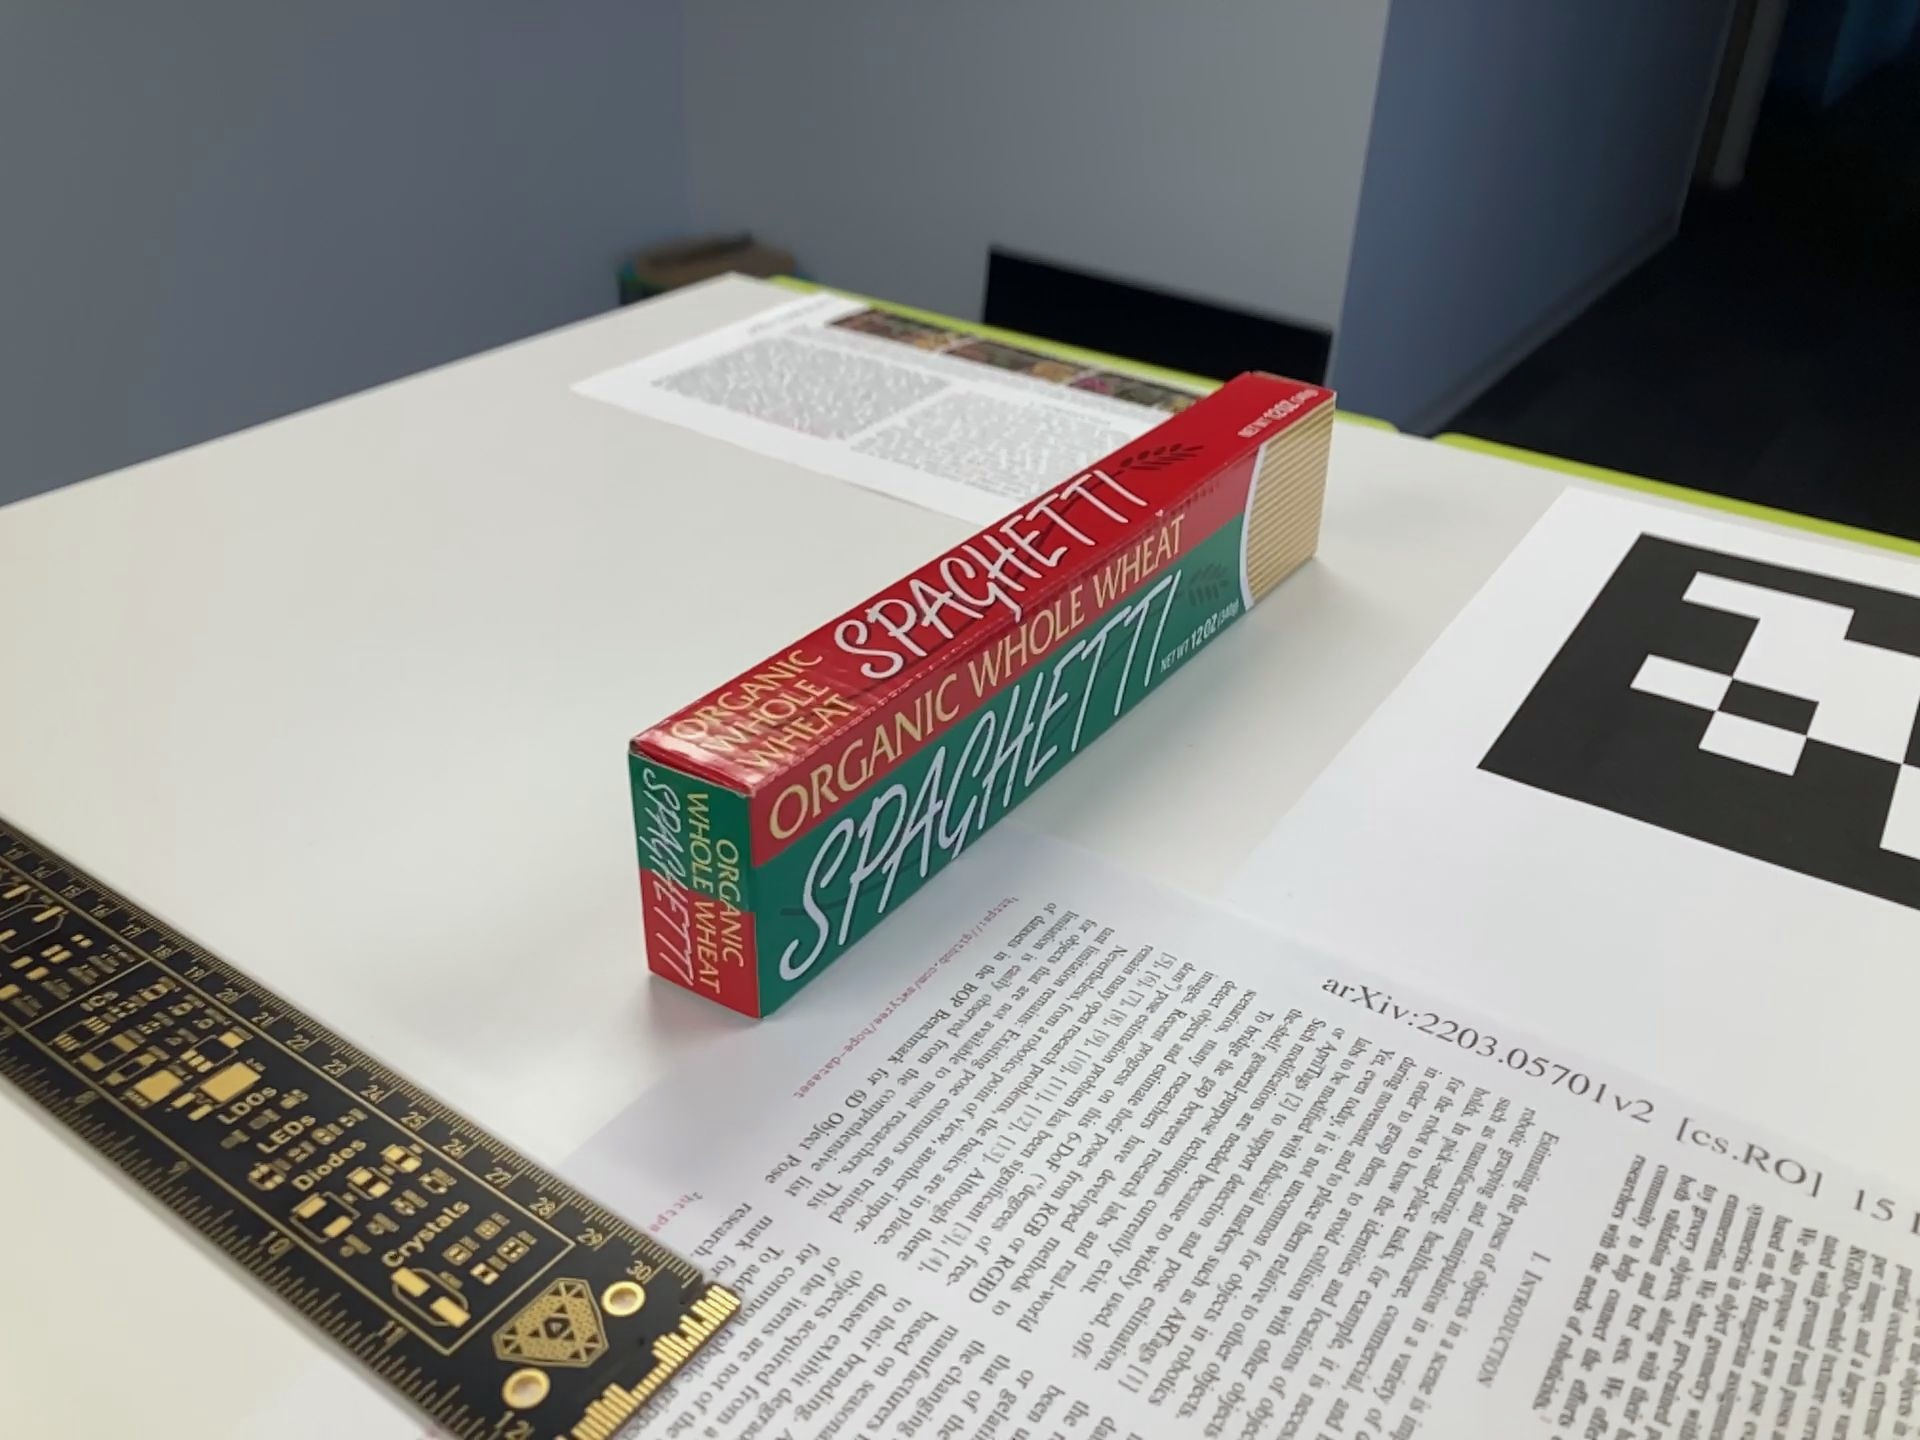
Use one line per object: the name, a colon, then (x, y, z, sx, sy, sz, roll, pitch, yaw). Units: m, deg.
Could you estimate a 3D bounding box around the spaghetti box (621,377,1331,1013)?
spaghetti box: (0.022, -0.021, 0.364, 0.028, 0.050, 0.250, 18, 34, 29)
